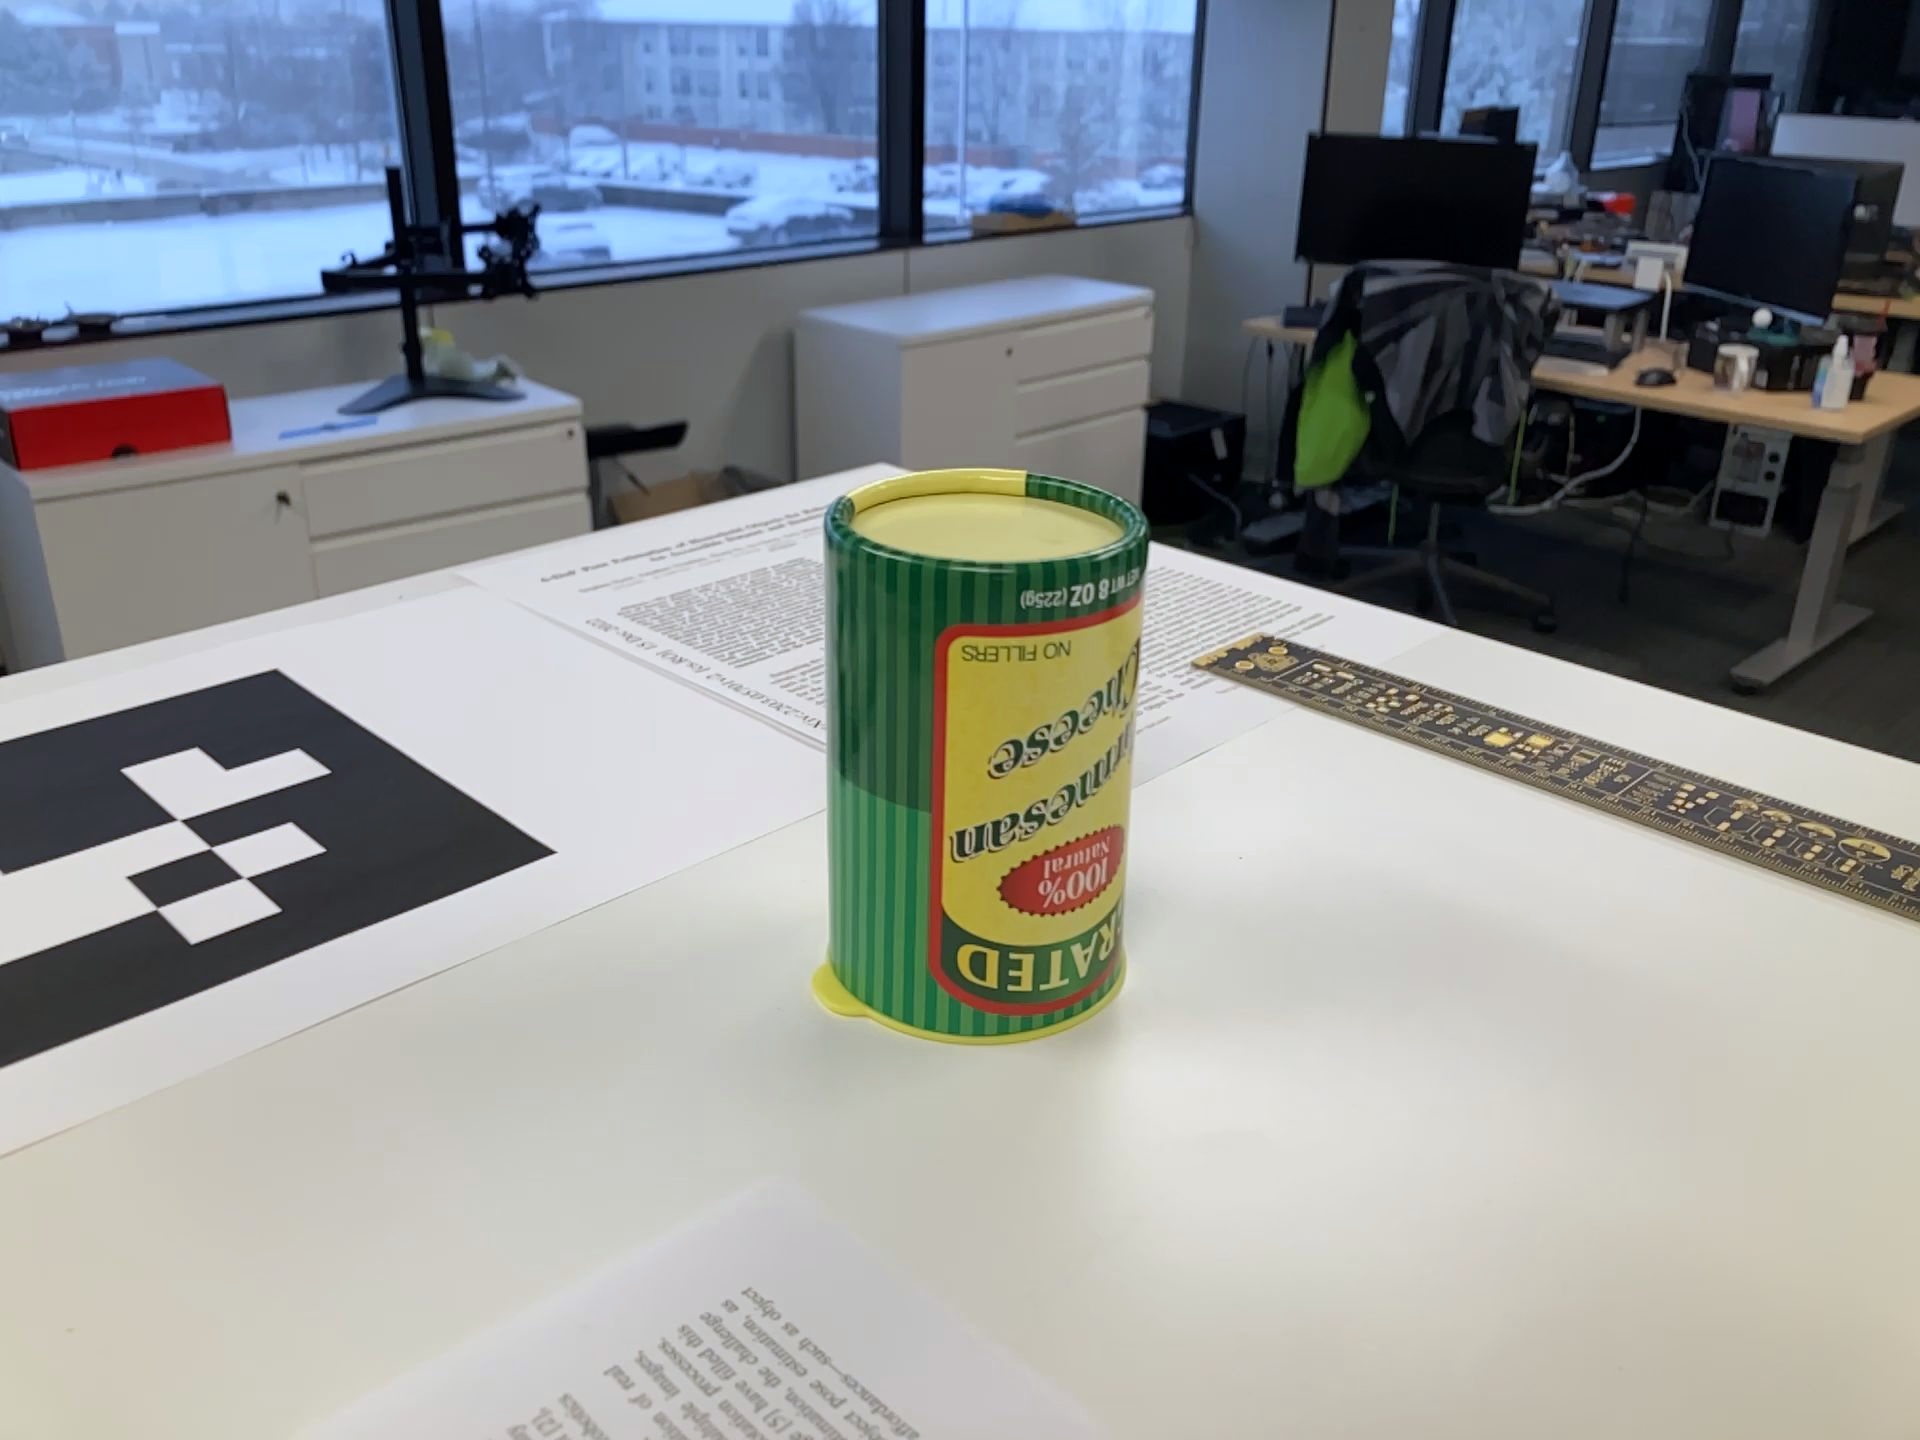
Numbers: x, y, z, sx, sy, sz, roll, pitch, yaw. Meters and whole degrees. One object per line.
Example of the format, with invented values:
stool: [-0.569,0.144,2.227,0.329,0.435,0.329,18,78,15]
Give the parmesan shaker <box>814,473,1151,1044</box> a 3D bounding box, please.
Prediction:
parmesan shaker: [0.002,0.007,0.333,0.071,0.103,0.071,1,24,0]
